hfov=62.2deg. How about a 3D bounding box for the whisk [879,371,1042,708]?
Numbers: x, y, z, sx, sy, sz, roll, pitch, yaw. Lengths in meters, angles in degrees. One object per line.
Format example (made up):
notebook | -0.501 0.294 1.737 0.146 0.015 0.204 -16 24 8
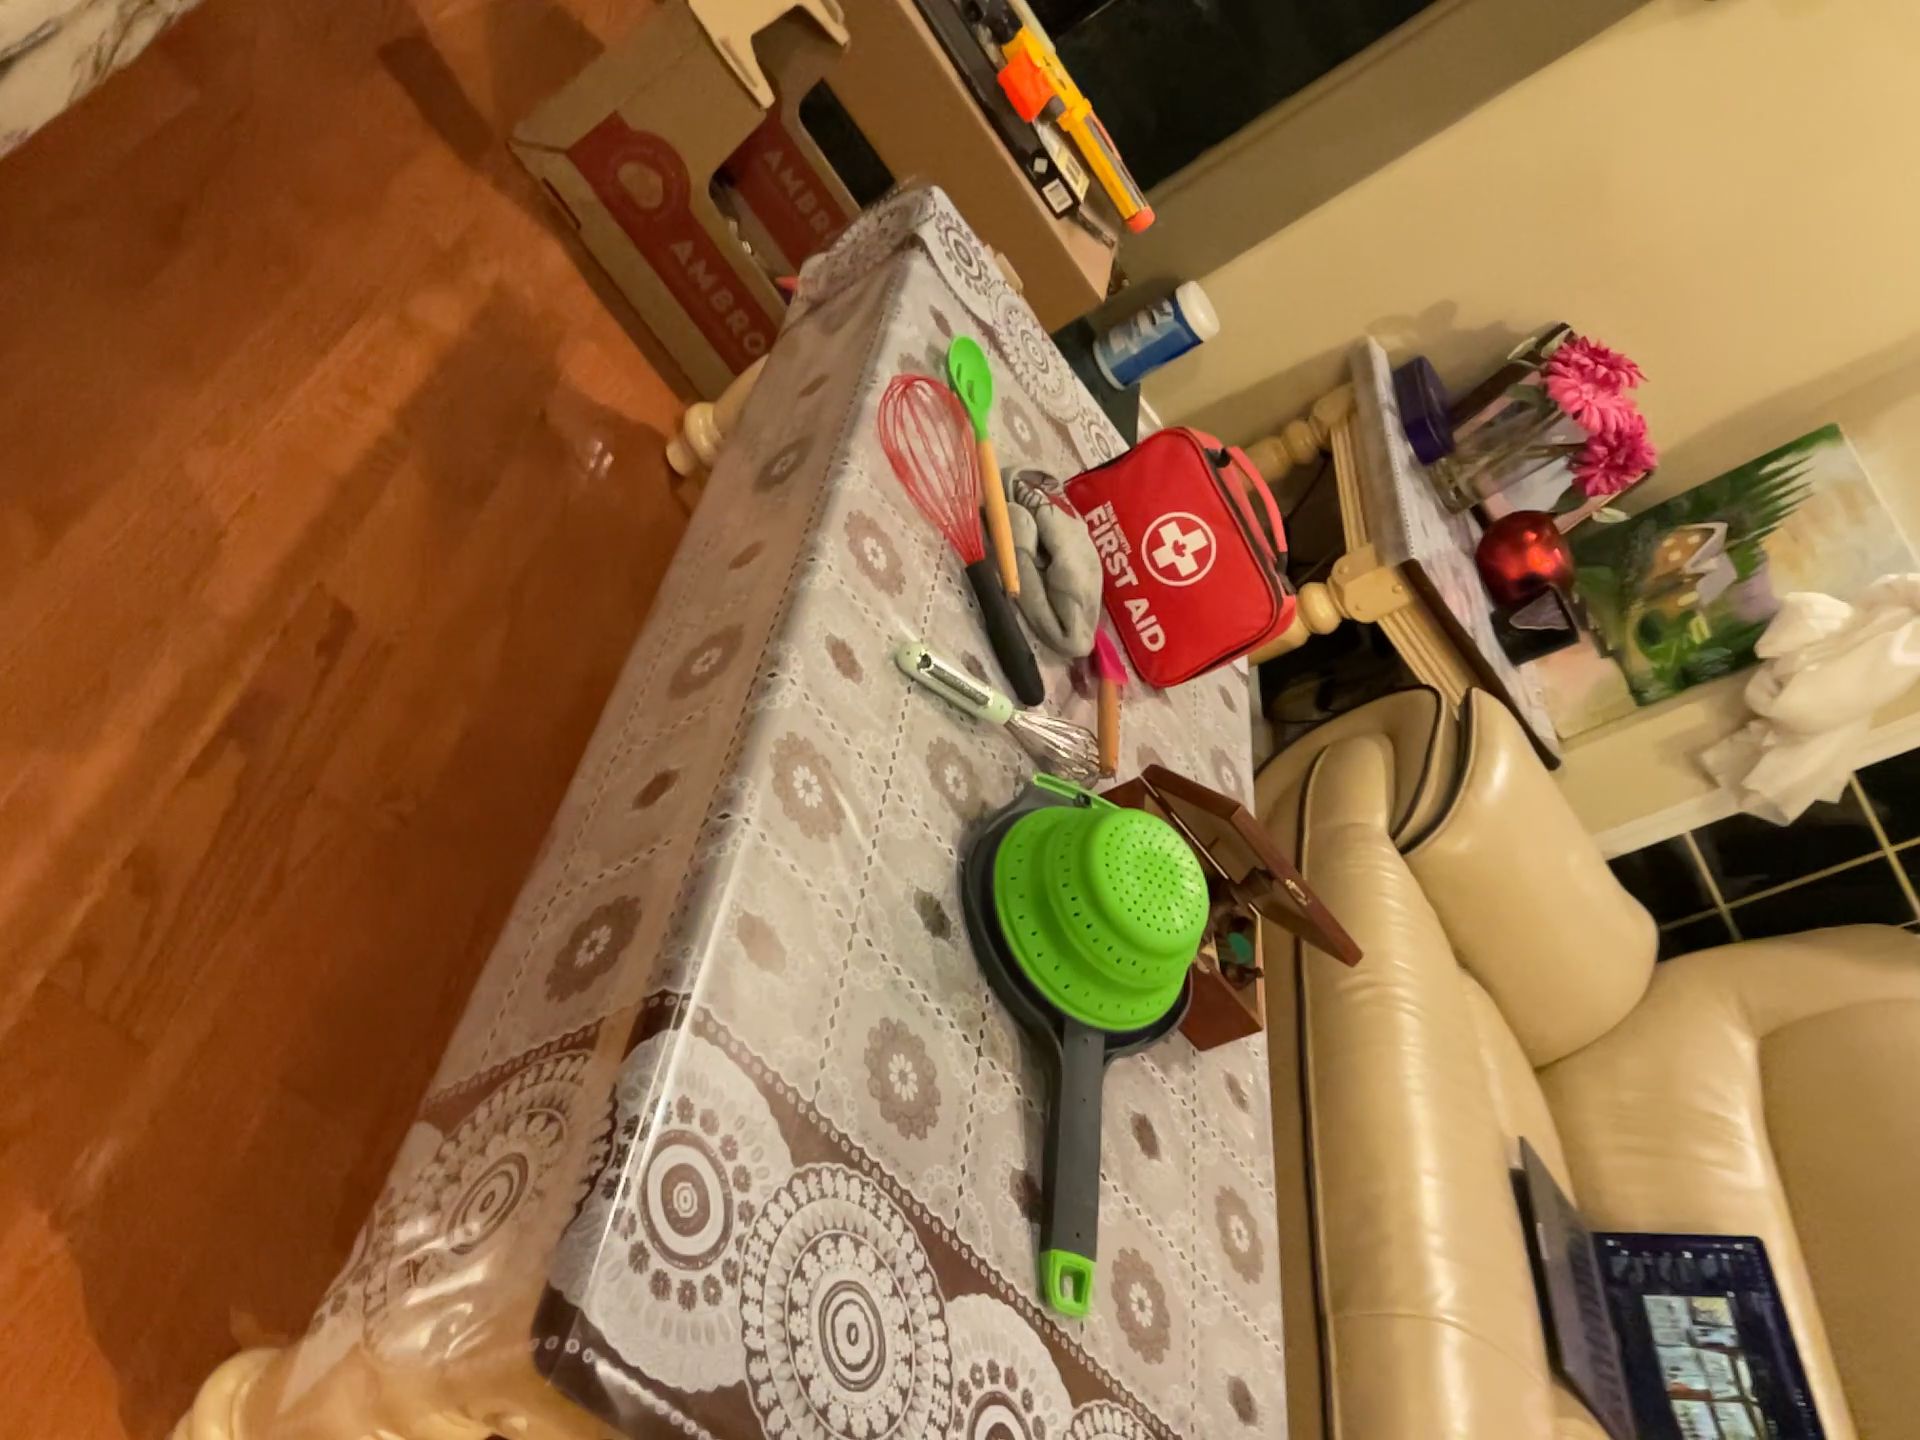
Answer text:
whisk | 0.007 -0.148 1.308 0.296 0.073 0.073 68 20 -5

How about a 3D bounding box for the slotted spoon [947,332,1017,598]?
slotted spoon | 0.022 -0.229 1.410 0.070 0.031 0.314 36 35 -43

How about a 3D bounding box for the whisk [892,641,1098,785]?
whisk | 0.031 0.000 1.241 0.246 0.059 0.058 33 -2 -42

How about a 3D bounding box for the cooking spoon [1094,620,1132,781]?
cooking spoon | 0.128 -0.021 1.388 0.068 0.017 0.319 53 18 -16

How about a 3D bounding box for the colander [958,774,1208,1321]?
colander | 0.100 0.195 1.078 0.204 0.094 0.398 25 49 -23
